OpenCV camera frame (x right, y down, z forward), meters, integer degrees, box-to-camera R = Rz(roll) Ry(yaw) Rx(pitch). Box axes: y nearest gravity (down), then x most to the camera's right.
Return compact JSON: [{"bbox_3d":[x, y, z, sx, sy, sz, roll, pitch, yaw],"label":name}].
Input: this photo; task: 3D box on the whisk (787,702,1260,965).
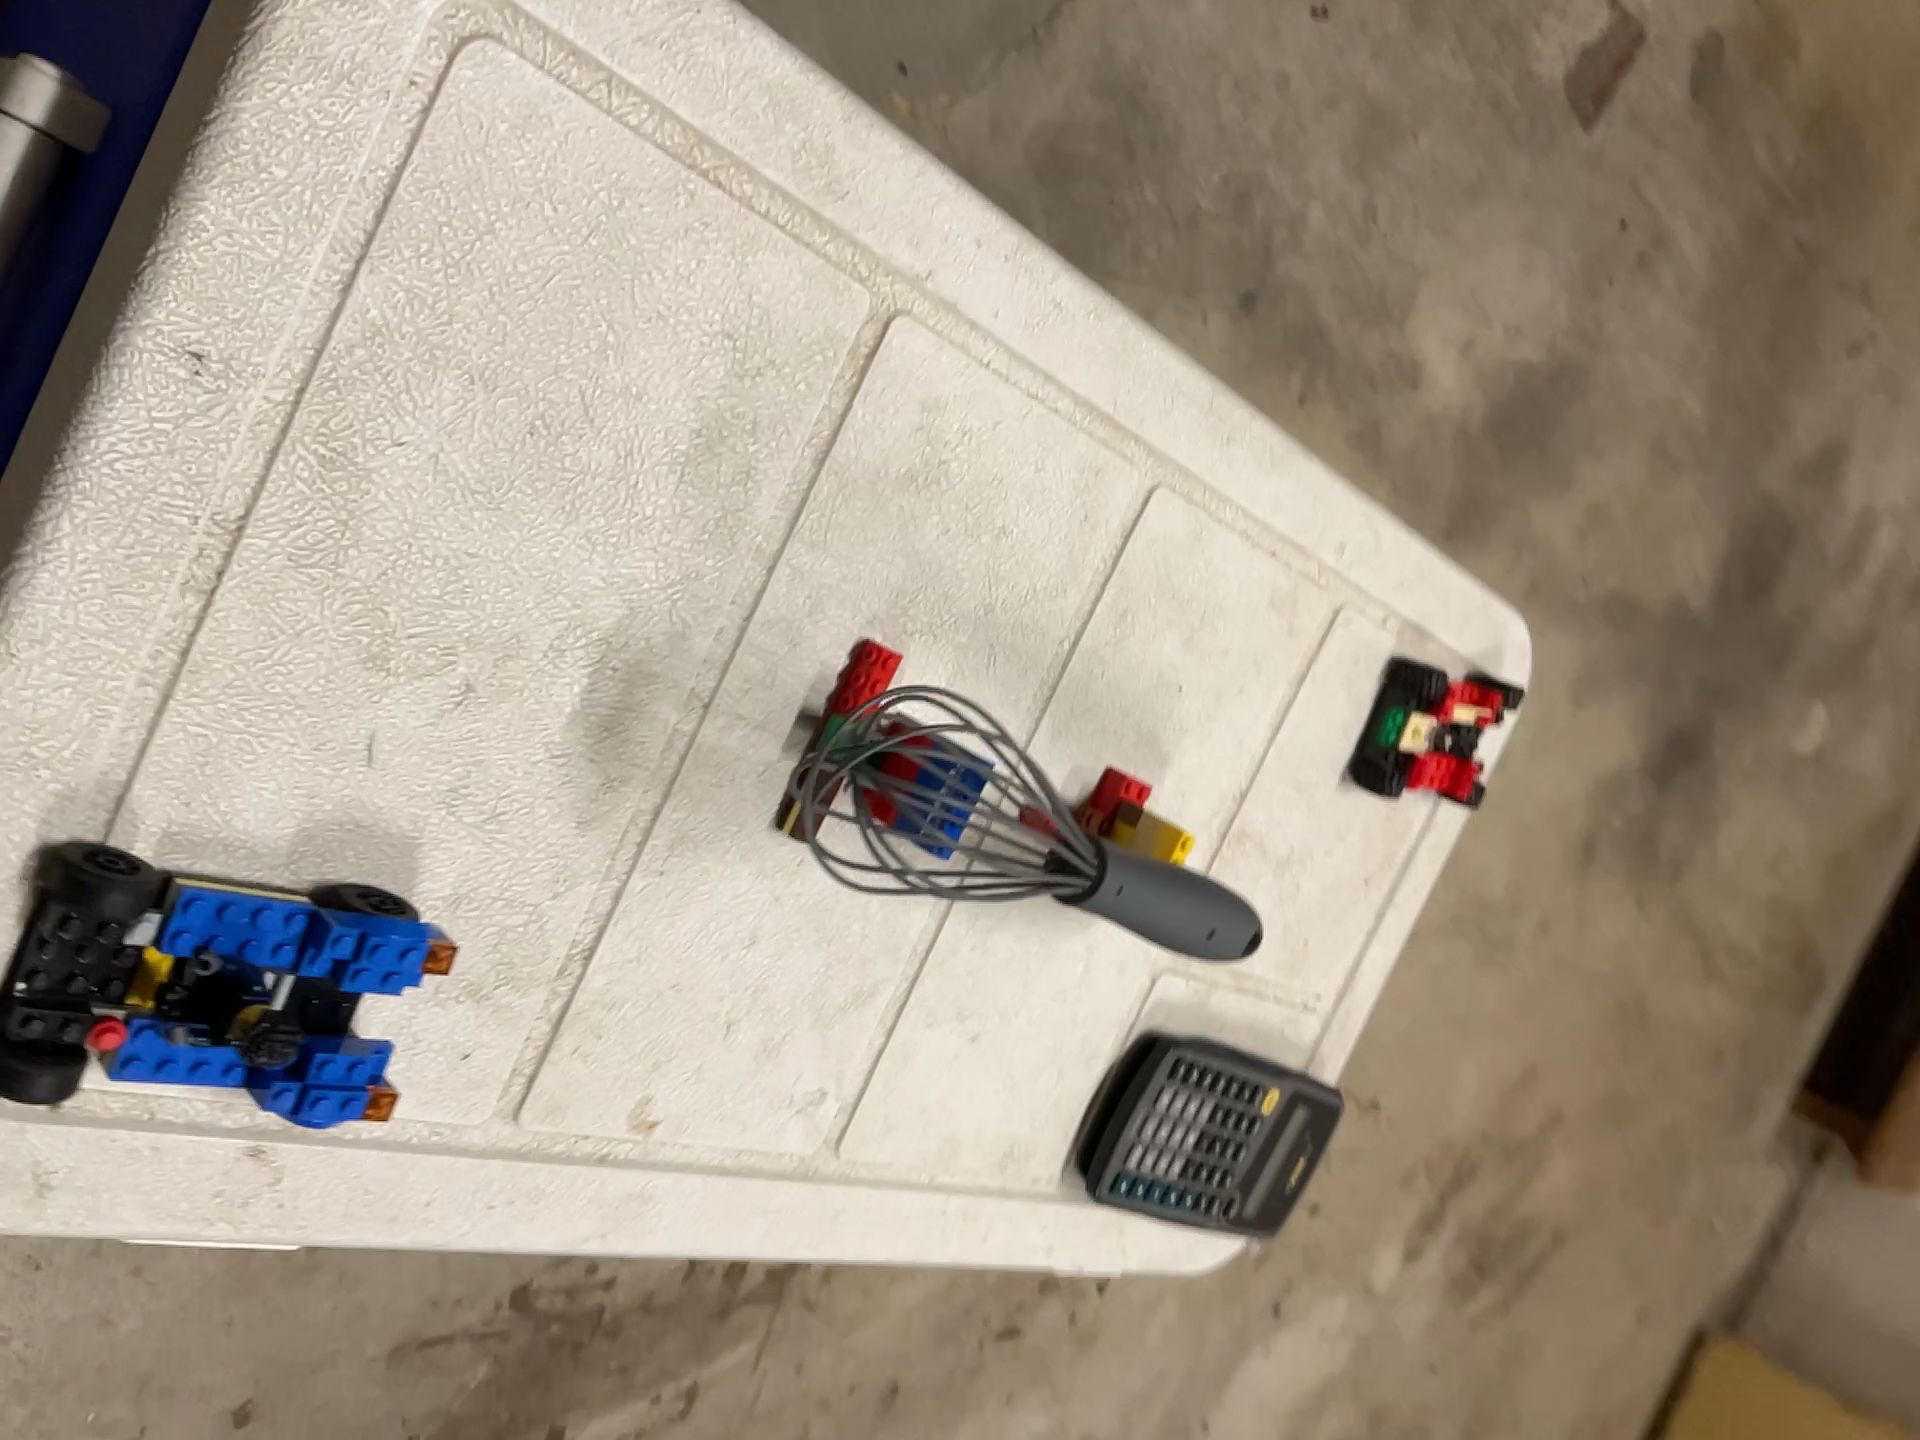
[{"bbox_3d":[0.033,0.045,0.476,0.239,0.055,0.055,27,93,-51],"label":"whisk"}]
